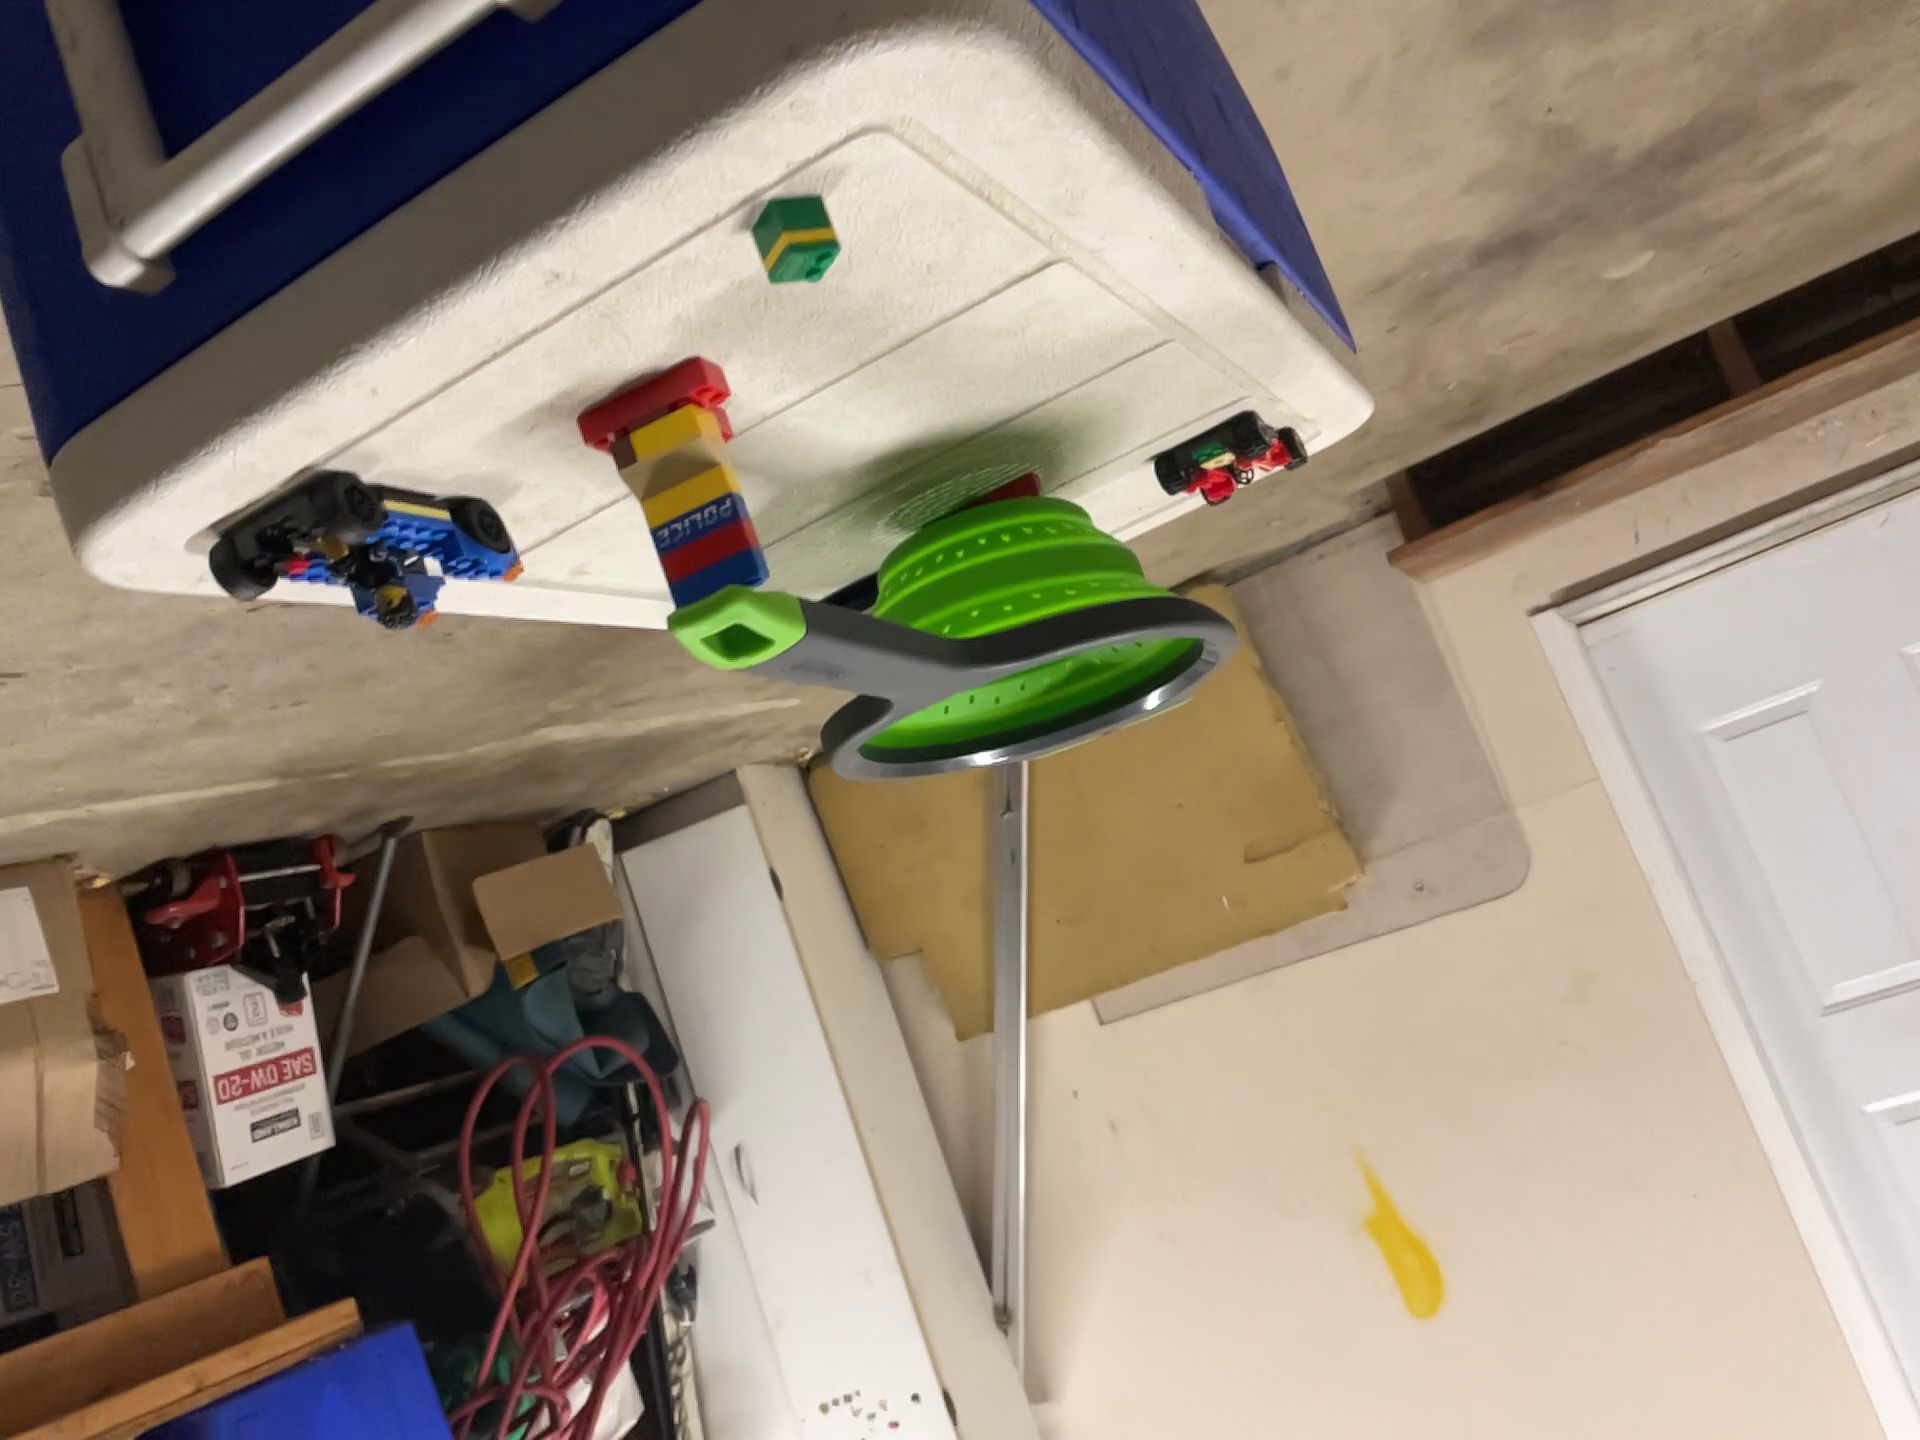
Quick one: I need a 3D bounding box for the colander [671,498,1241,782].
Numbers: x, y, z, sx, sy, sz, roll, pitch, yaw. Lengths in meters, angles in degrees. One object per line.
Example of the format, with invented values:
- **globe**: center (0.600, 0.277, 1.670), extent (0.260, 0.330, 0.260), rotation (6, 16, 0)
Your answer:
- **colander**: center (-0.010, -0.052, 0.696), extent (0.204, 0.094, 0.397), rotation (-21, 167, 21)
